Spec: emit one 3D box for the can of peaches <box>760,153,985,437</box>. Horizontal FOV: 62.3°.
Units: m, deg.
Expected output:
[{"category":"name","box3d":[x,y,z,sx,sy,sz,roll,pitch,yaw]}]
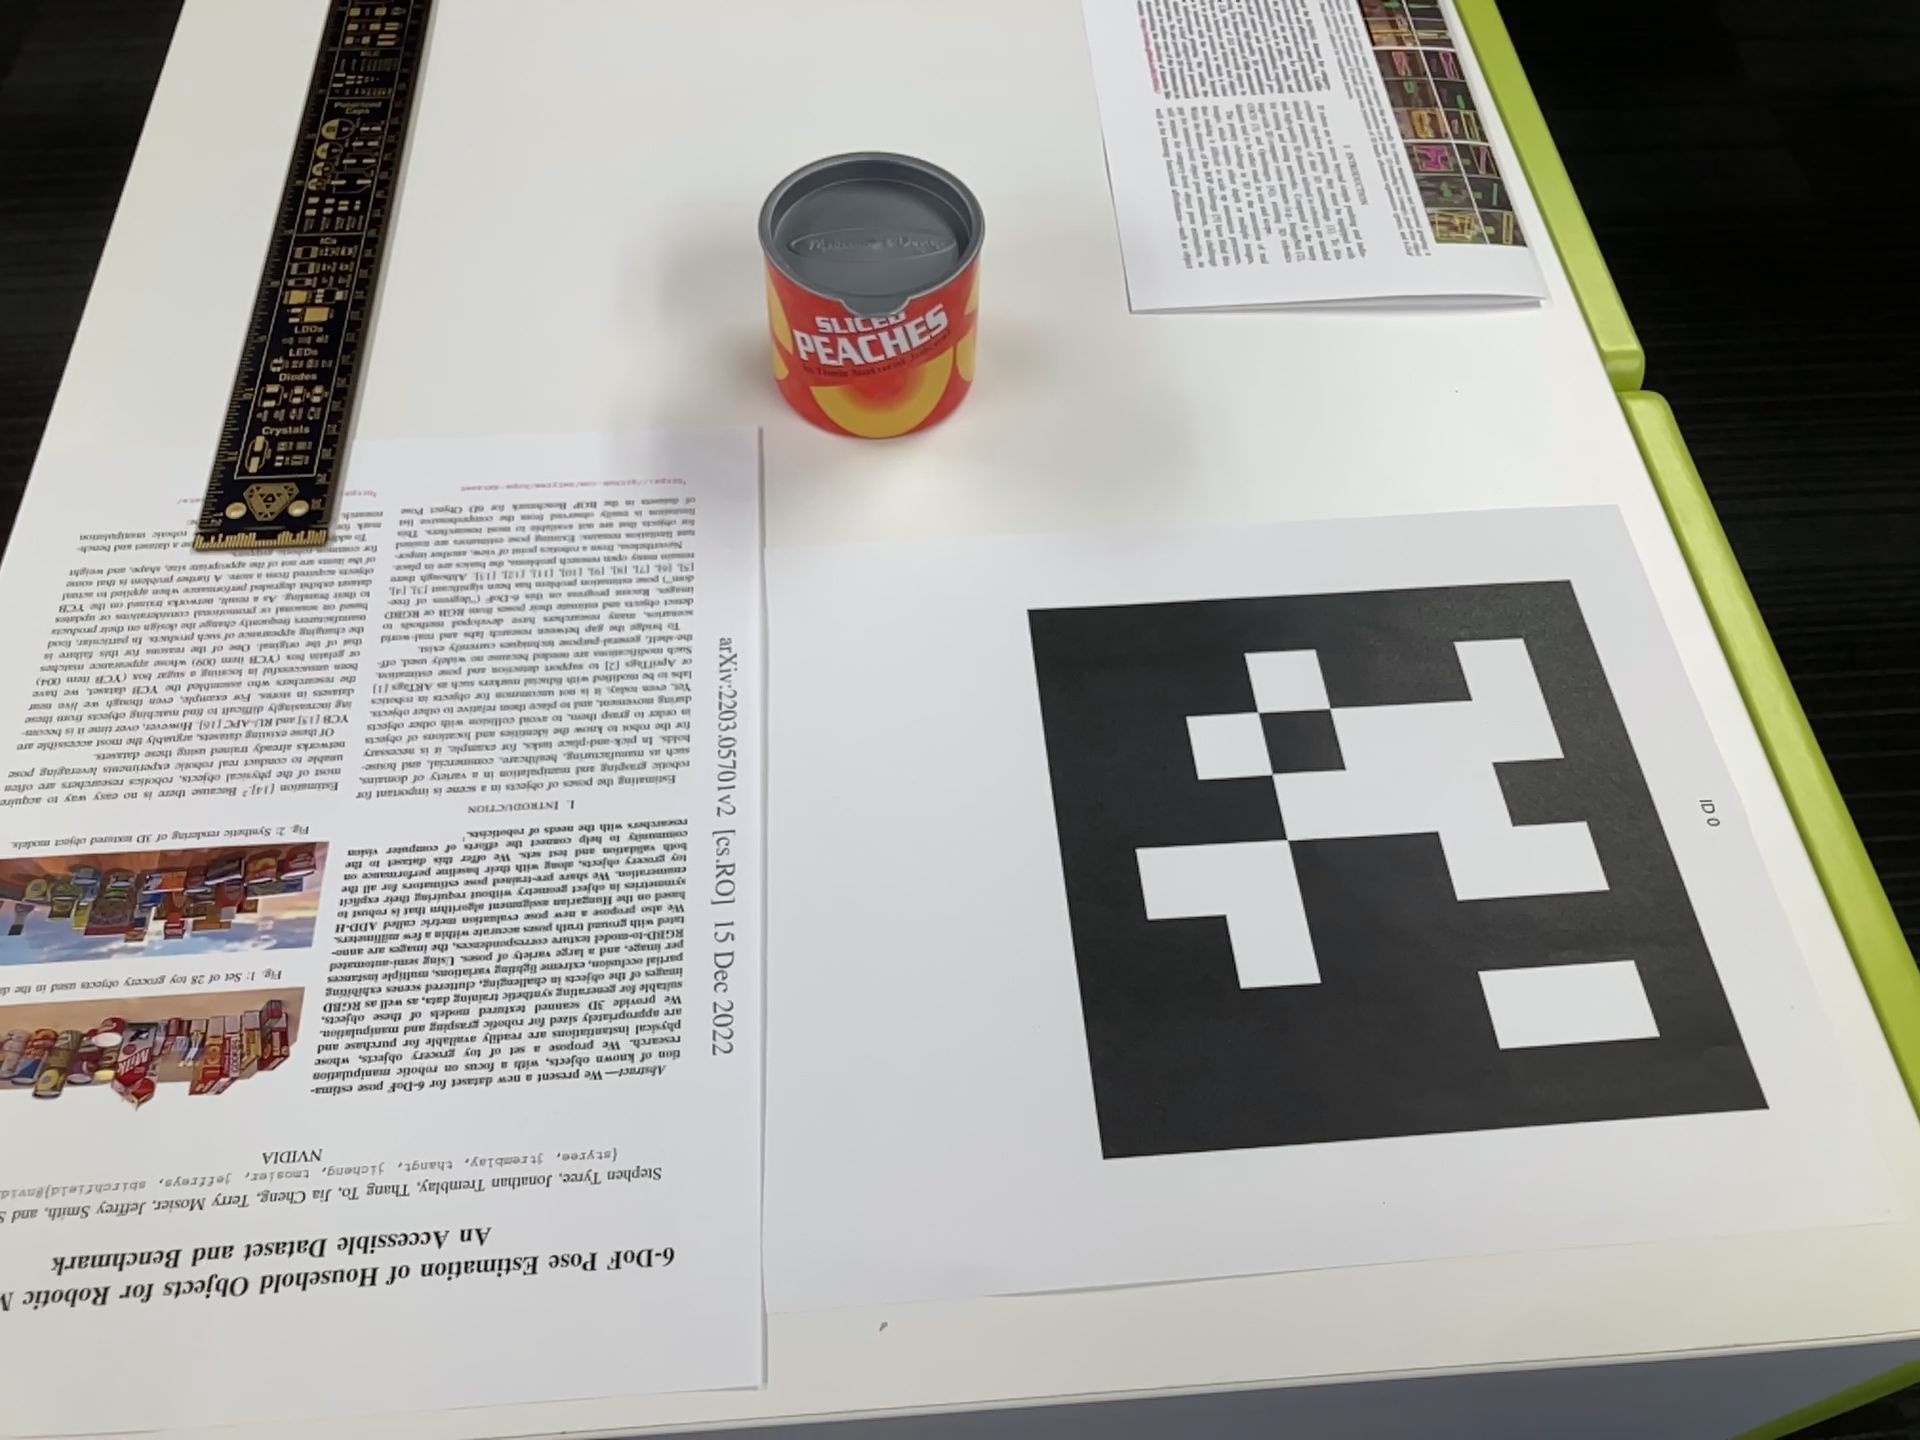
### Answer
[{"category":"can of peaches","box3d":[-0.027,-0.129,0.490,0.071,0.058,0.071,1,57,-2]}]
